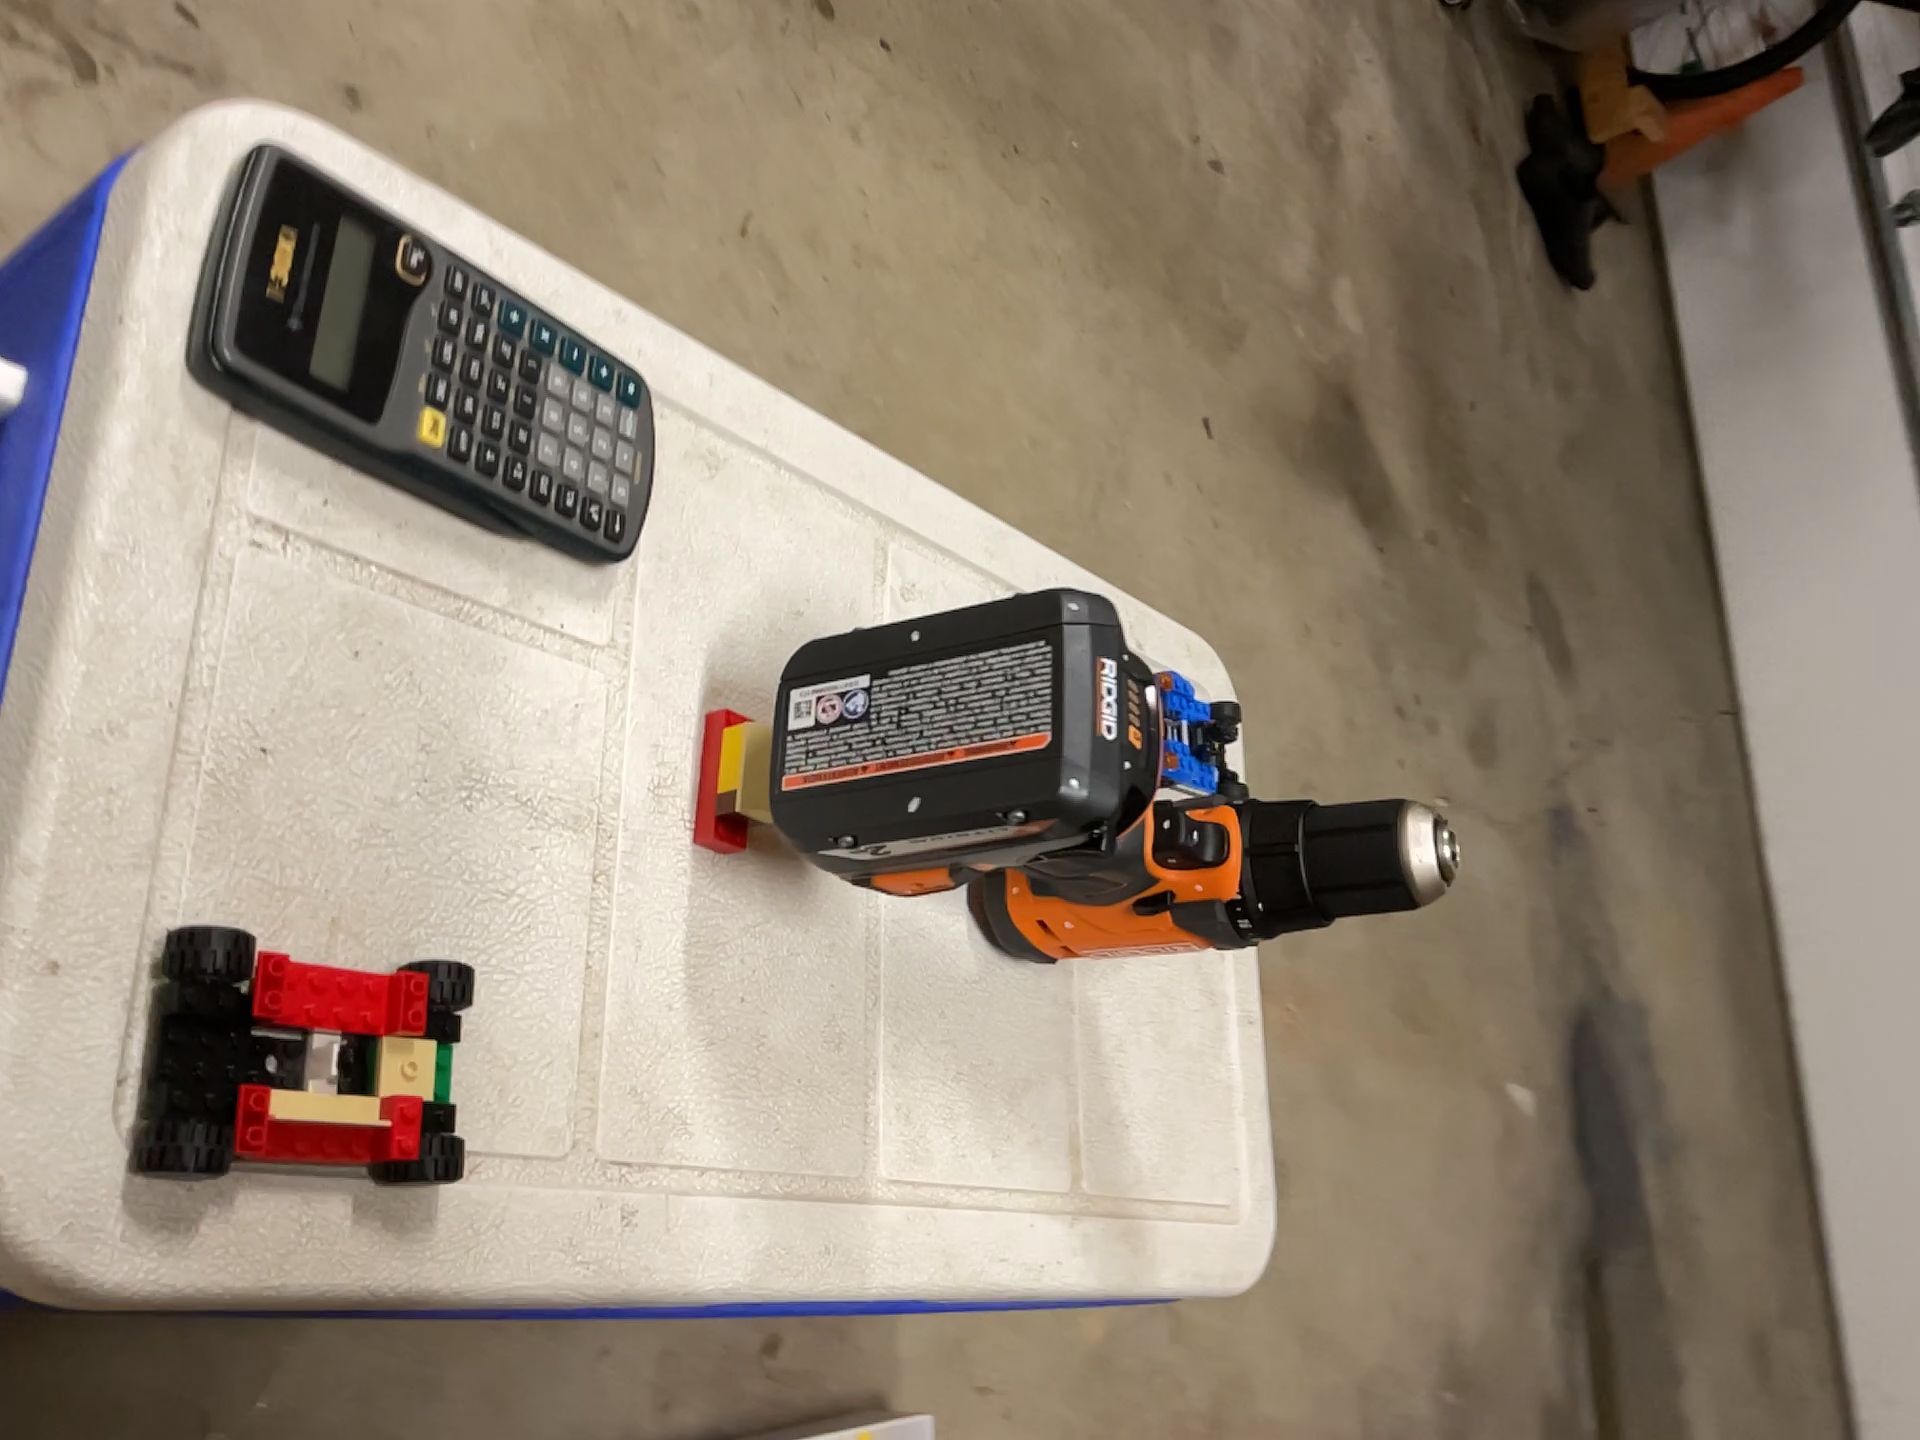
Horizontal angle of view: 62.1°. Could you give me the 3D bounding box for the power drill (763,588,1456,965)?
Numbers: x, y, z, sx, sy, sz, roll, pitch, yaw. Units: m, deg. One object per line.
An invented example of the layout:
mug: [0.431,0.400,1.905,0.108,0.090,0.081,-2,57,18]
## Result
power drill: [0.061,0.033,0.565,0.226,0.185,0.084,36,51,-54]
